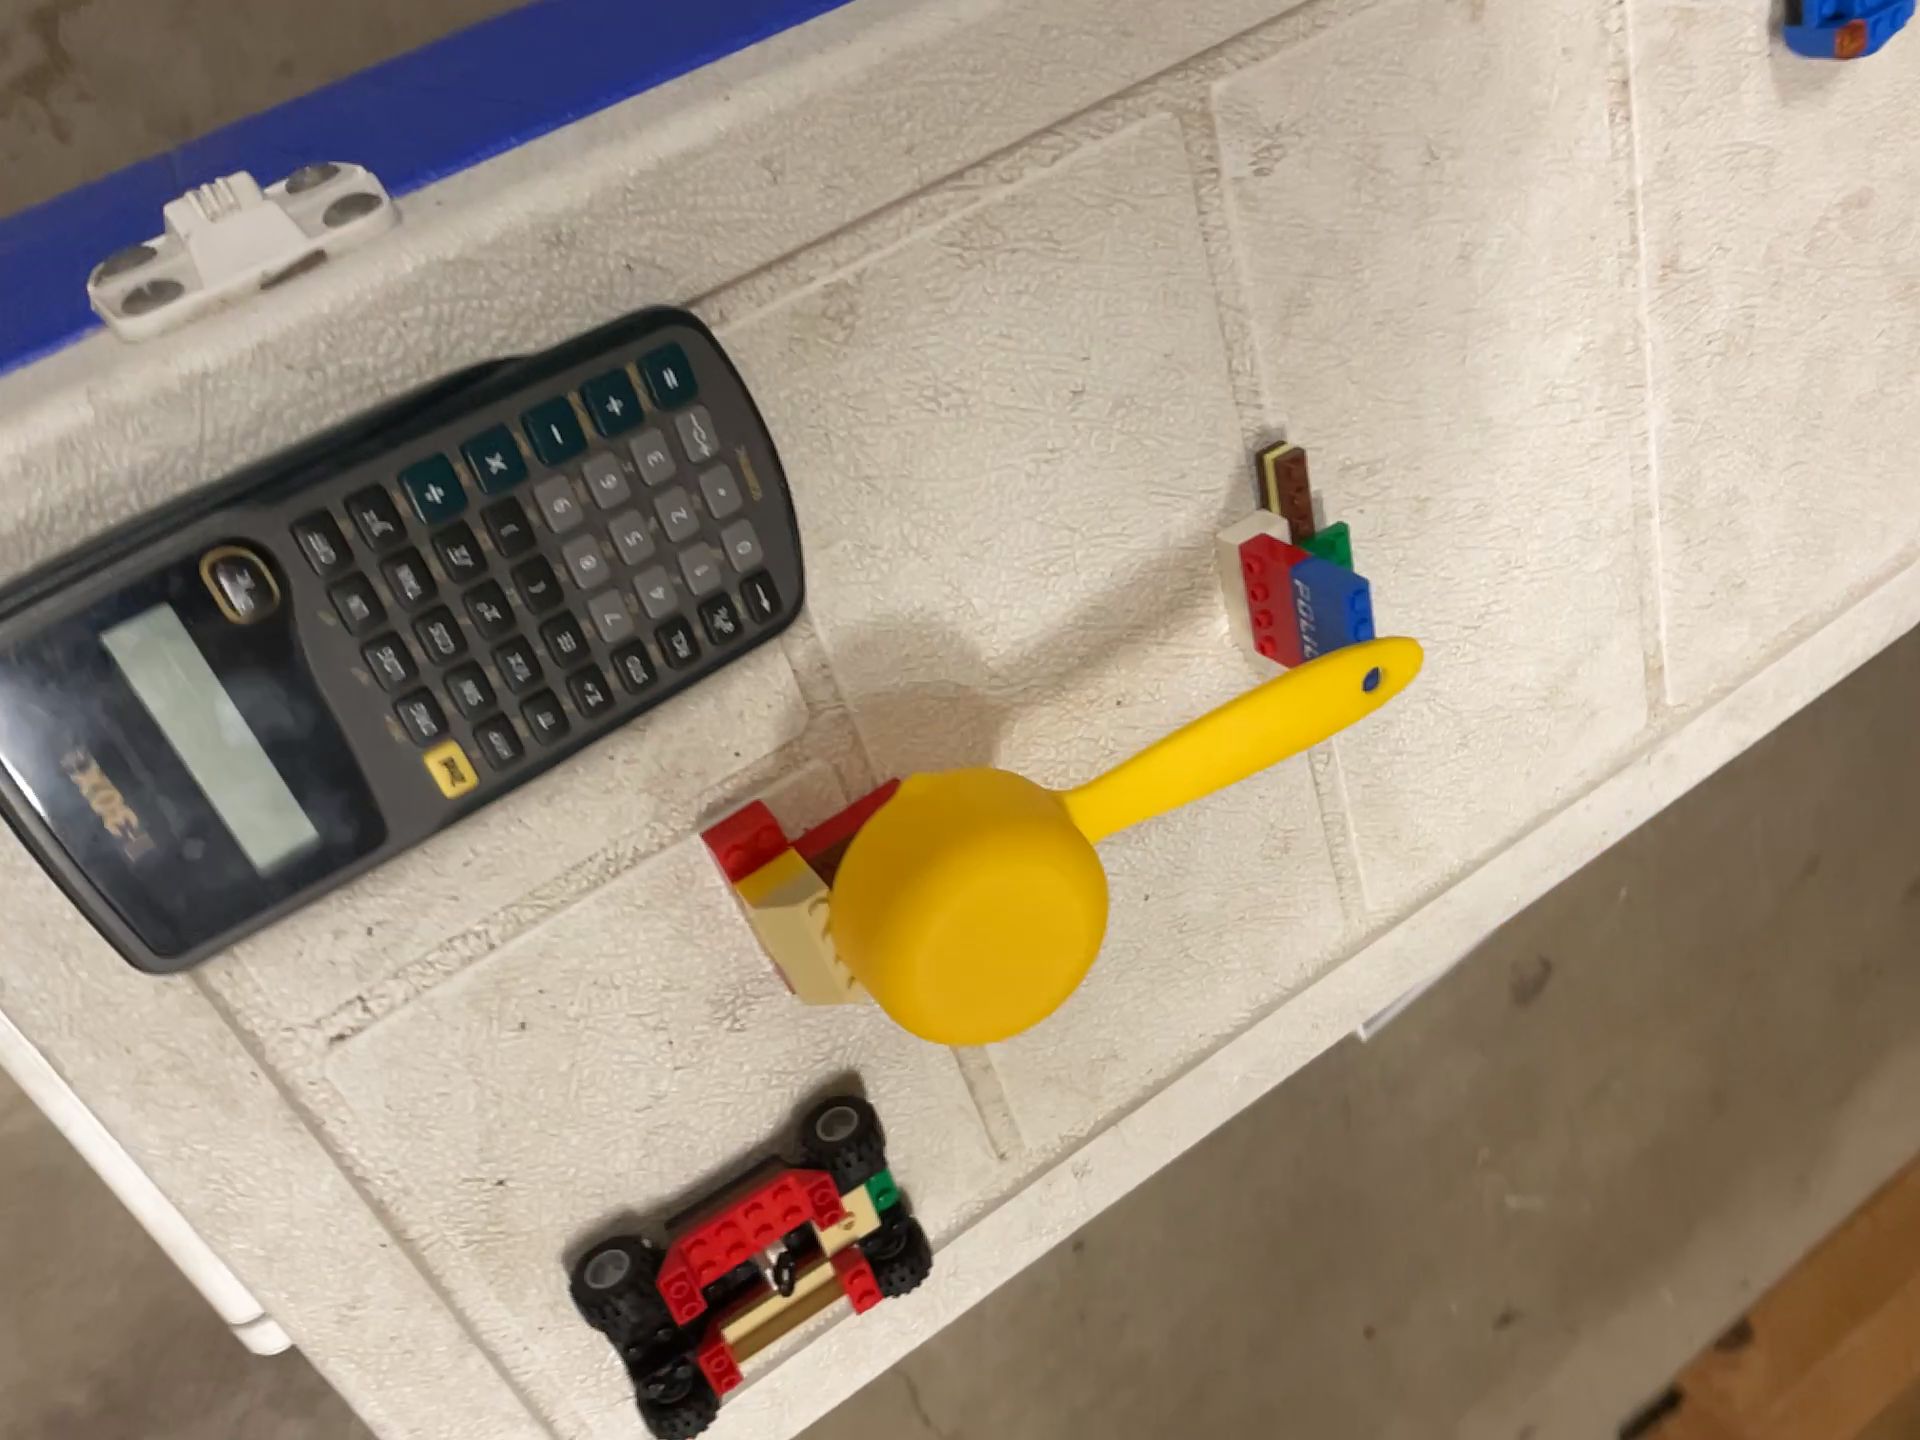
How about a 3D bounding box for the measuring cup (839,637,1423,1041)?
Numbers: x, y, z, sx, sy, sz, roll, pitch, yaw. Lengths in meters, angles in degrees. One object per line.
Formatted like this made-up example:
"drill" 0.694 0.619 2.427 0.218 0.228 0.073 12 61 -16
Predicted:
"measuring cup" 0.048 0.022 0.362 0.156 0.029 0.062 -27 124 -12
